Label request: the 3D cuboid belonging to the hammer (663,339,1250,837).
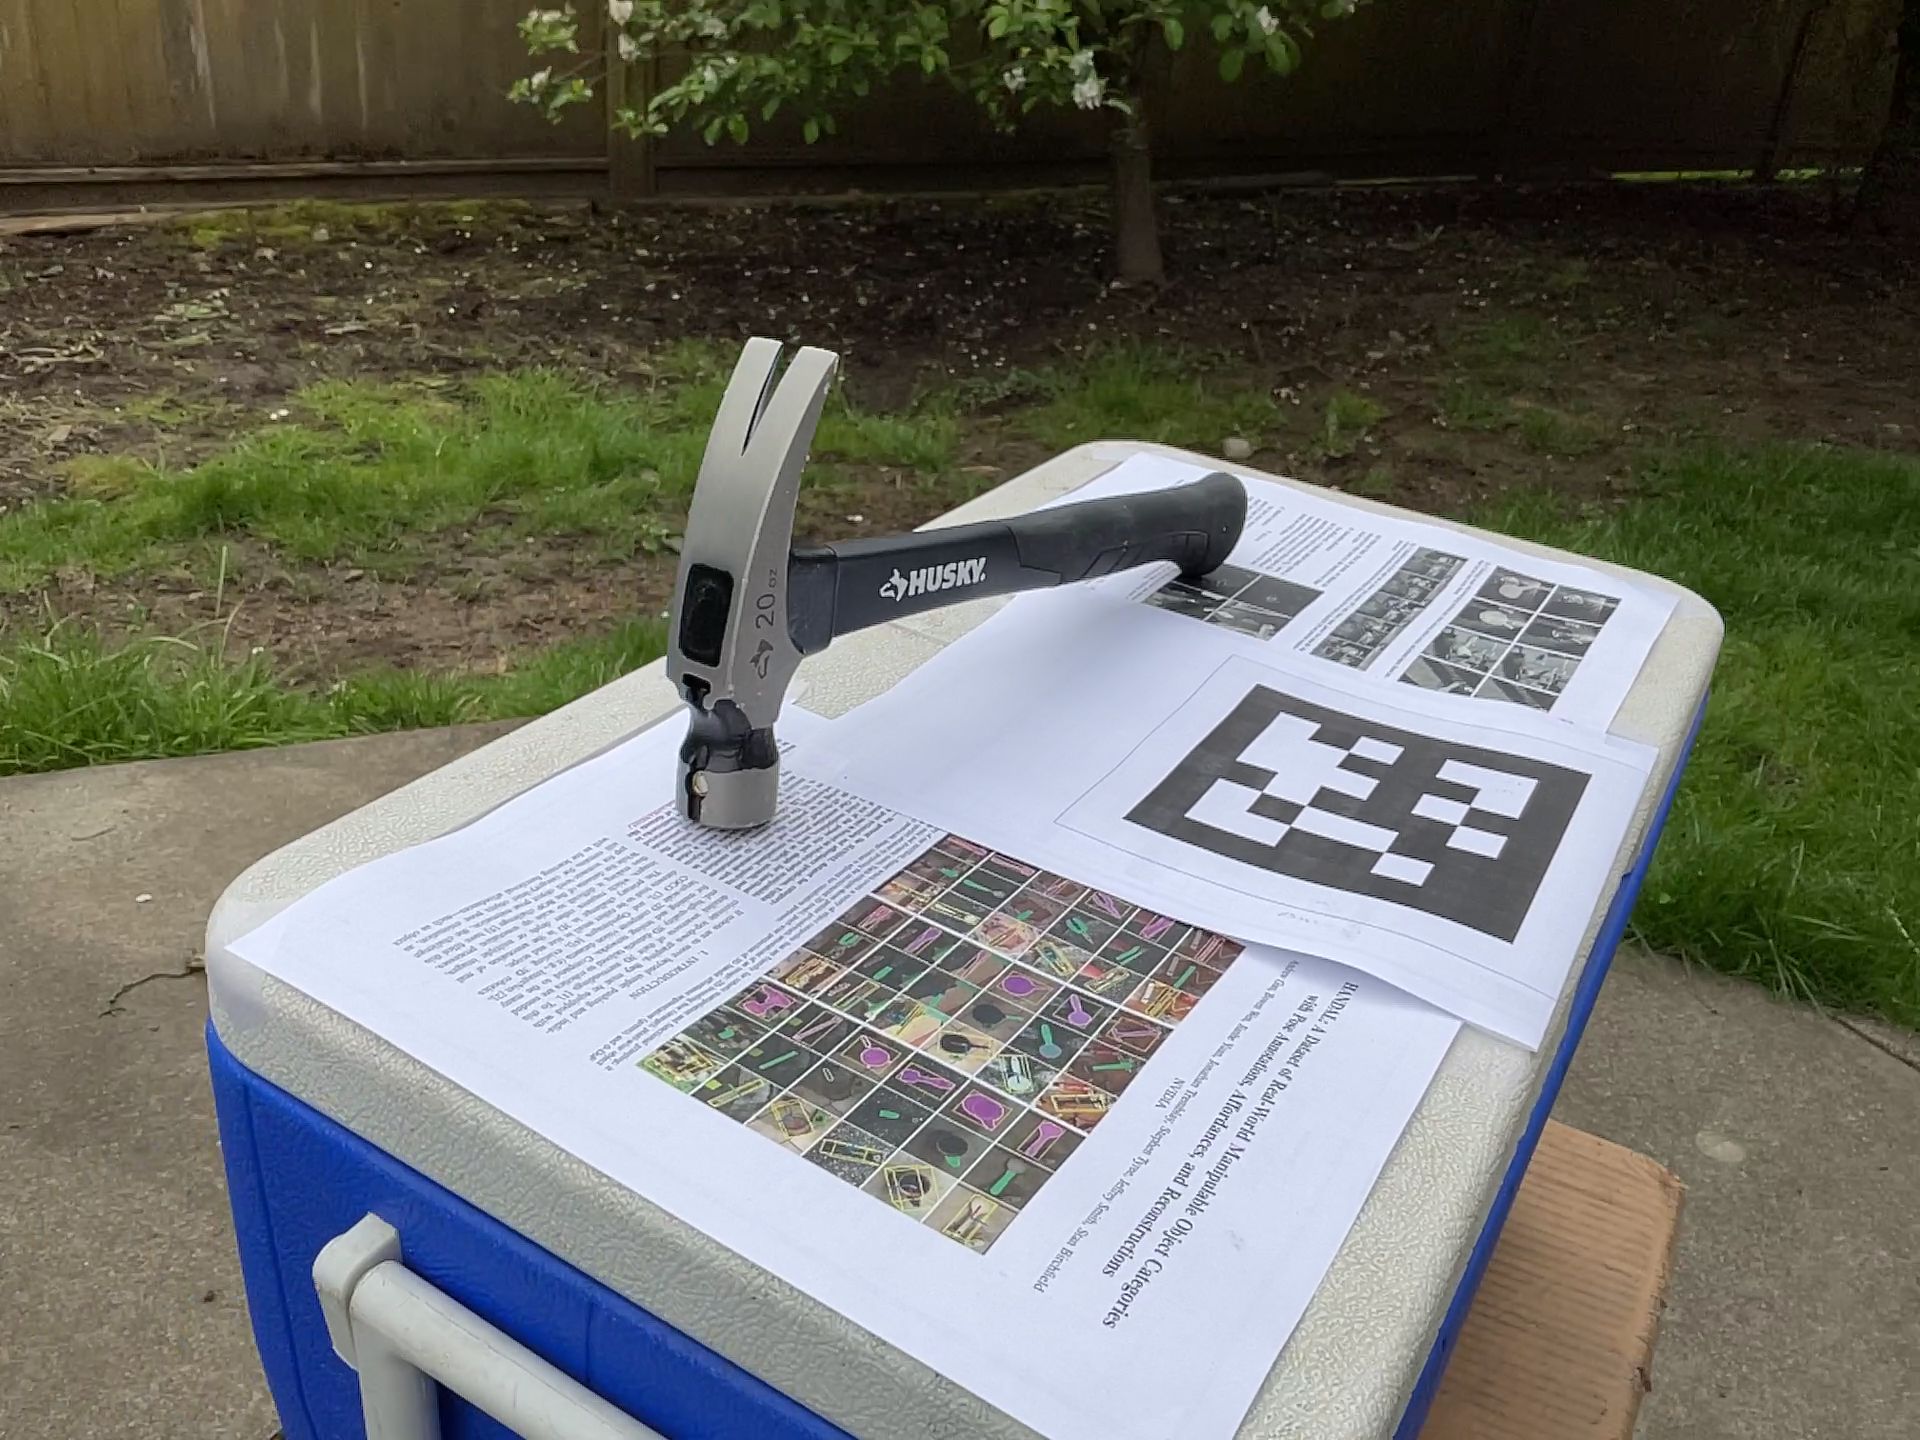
[{"bbox_3d":[0.022,-0.066,0.596,0.035,0.146,0.334,18,21,32],"label":"hammer"}]
